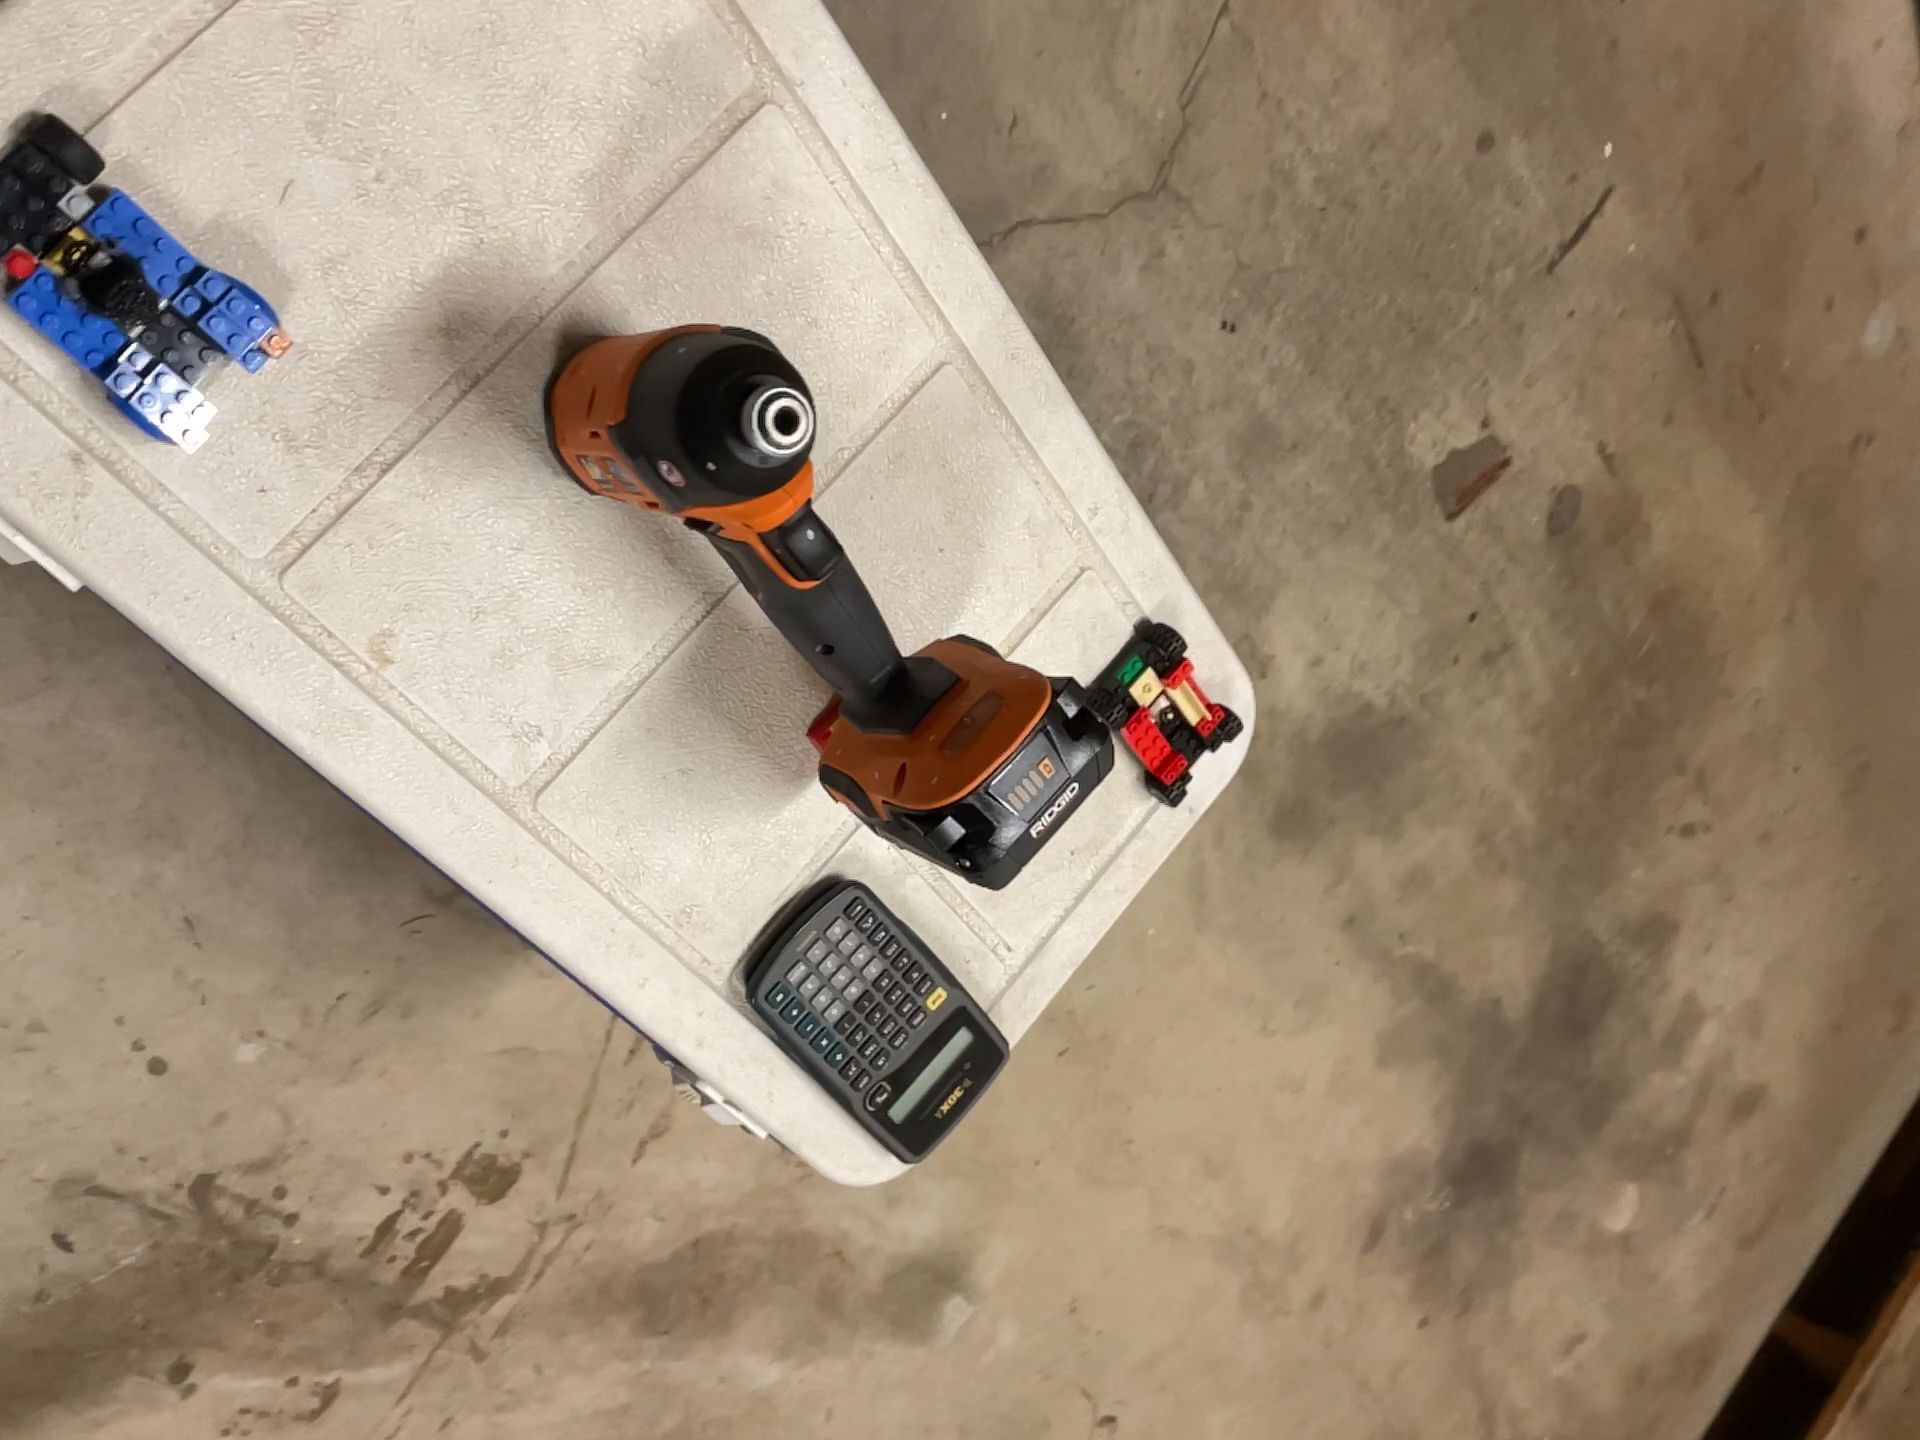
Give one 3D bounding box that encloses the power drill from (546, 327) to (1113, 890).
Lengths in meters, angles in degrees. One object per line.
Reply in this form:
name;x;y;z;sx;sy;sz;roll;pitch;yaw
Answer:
power drill;-0.044;-0.044;0.575;0.084;0.164;0.226;-46;116;-14
